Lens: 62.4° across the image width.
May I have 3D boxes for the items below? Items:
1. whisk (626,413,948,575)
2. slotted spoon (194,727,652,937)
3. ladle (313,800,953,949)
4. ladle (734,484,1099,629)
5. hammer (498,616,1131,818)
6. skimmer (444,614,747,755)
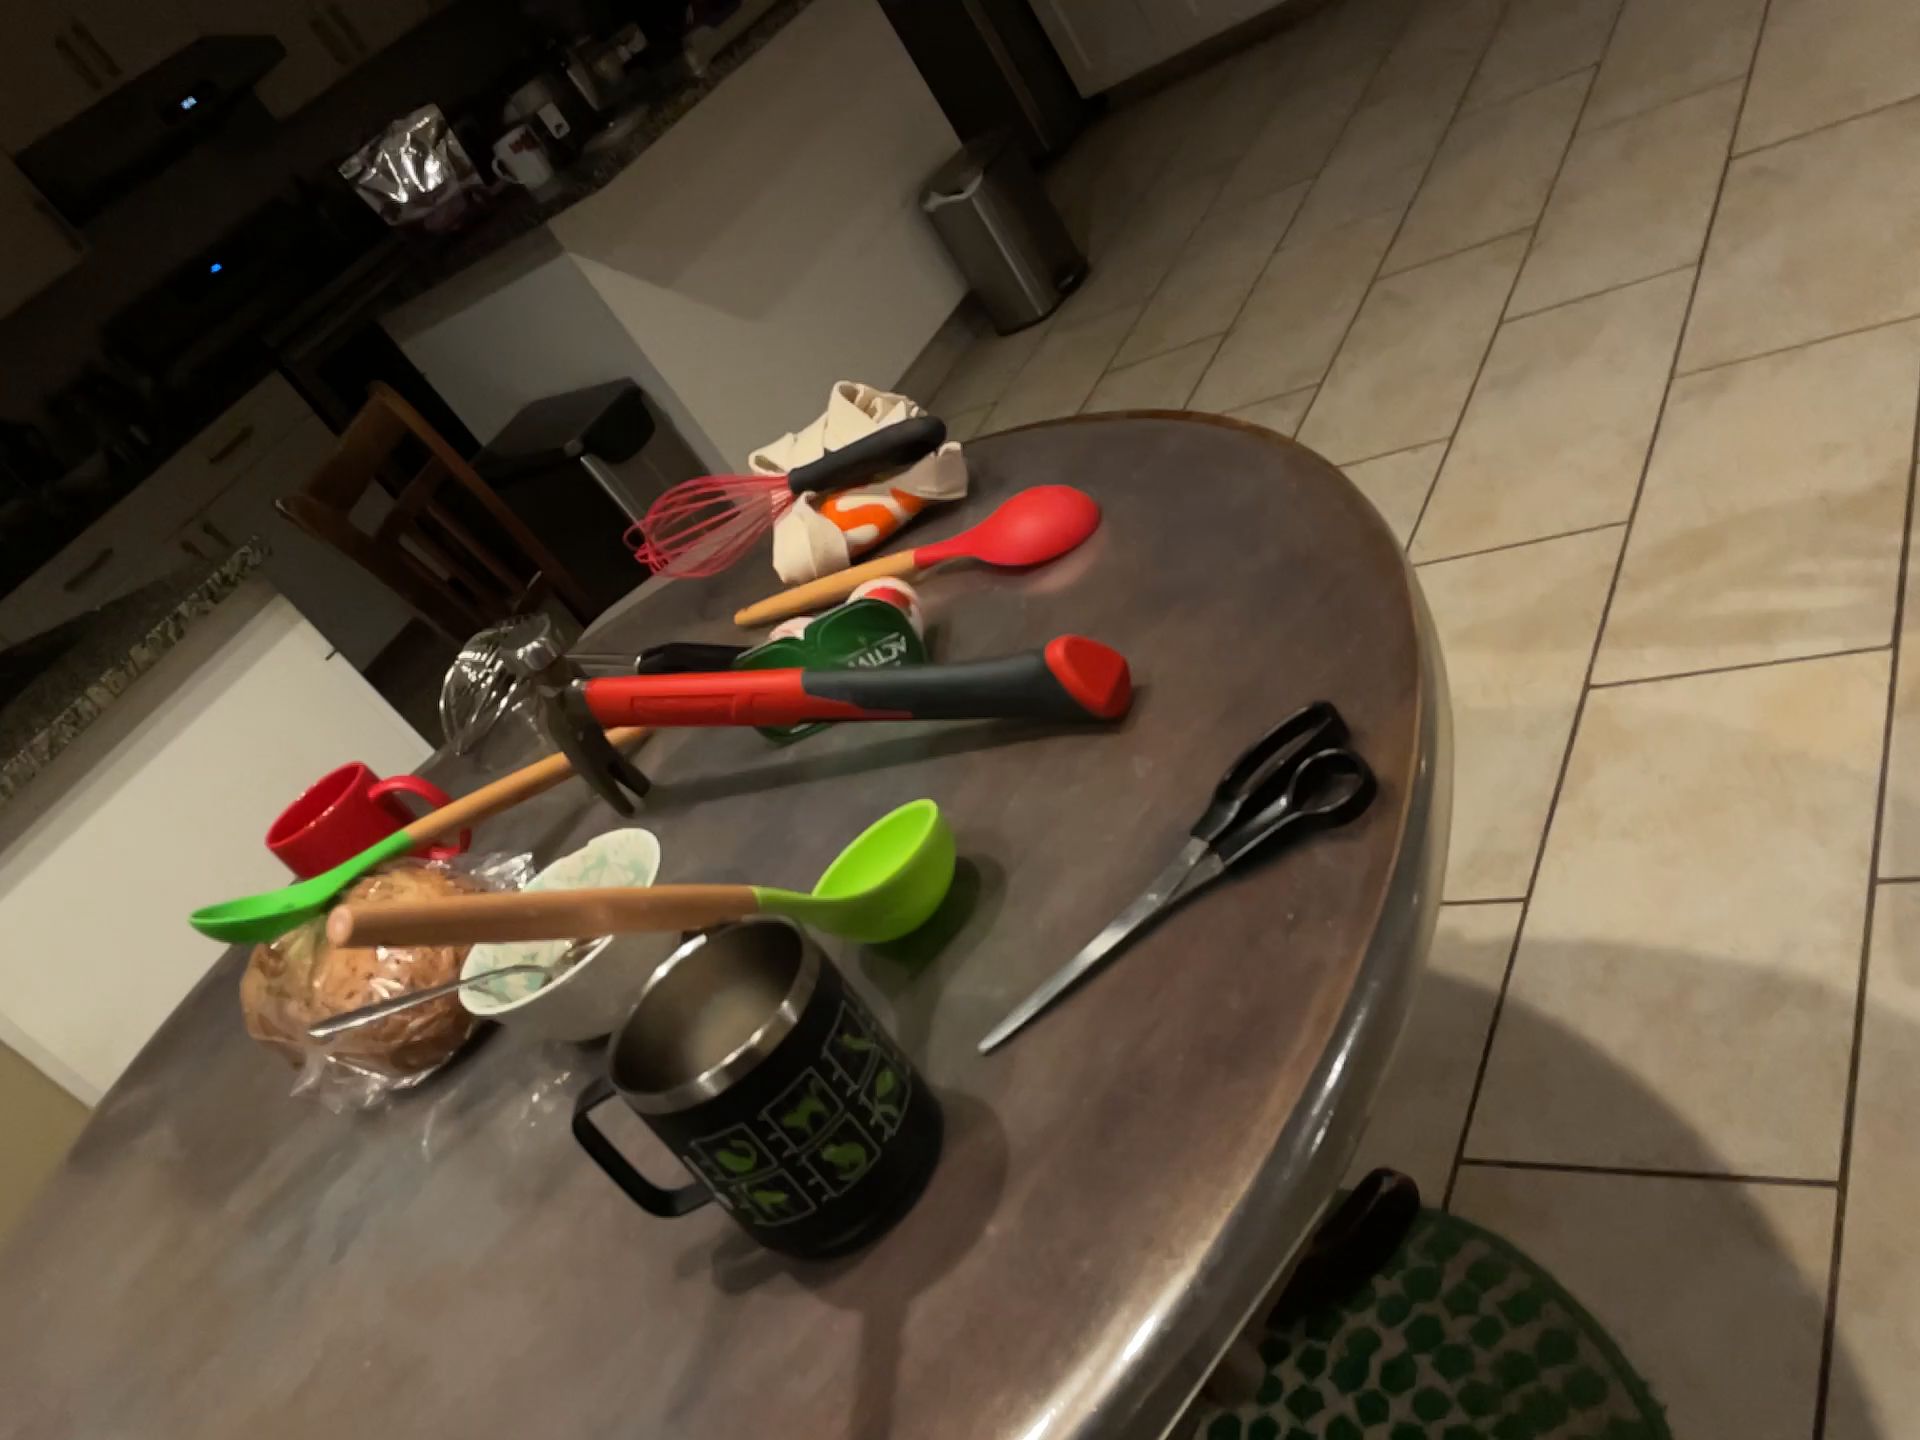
[{"bbox_3d":[-0.129,-0.164,1.132,0.296,0.073,0.073,-16,32,34],"label":"whisk"},{"bbox_3d":[-0.317,0.063,0.987,0.070,0.031,0.313,2,23,45],"label":"slotted spoon"},{"bbox_3d":[-0.108,0.063,0.616,0.078,0.319,0.062,-35,68,28],"label":"ladle"},{"bbox_3d":[-0.043,-0.100,1.041,0.315,0.031,0.069,-14,34,40],"label":"ladle"},{"bbox_3d":[-0.081,-0.001,0.874,0.387,0.143,0.038,-1,43,32],"label":"hammer"},{"bbox_3d":[-0.253,-0.024,1.160,0.364,0.090,0.127,3,54,37],"label":"skimmer"}]
